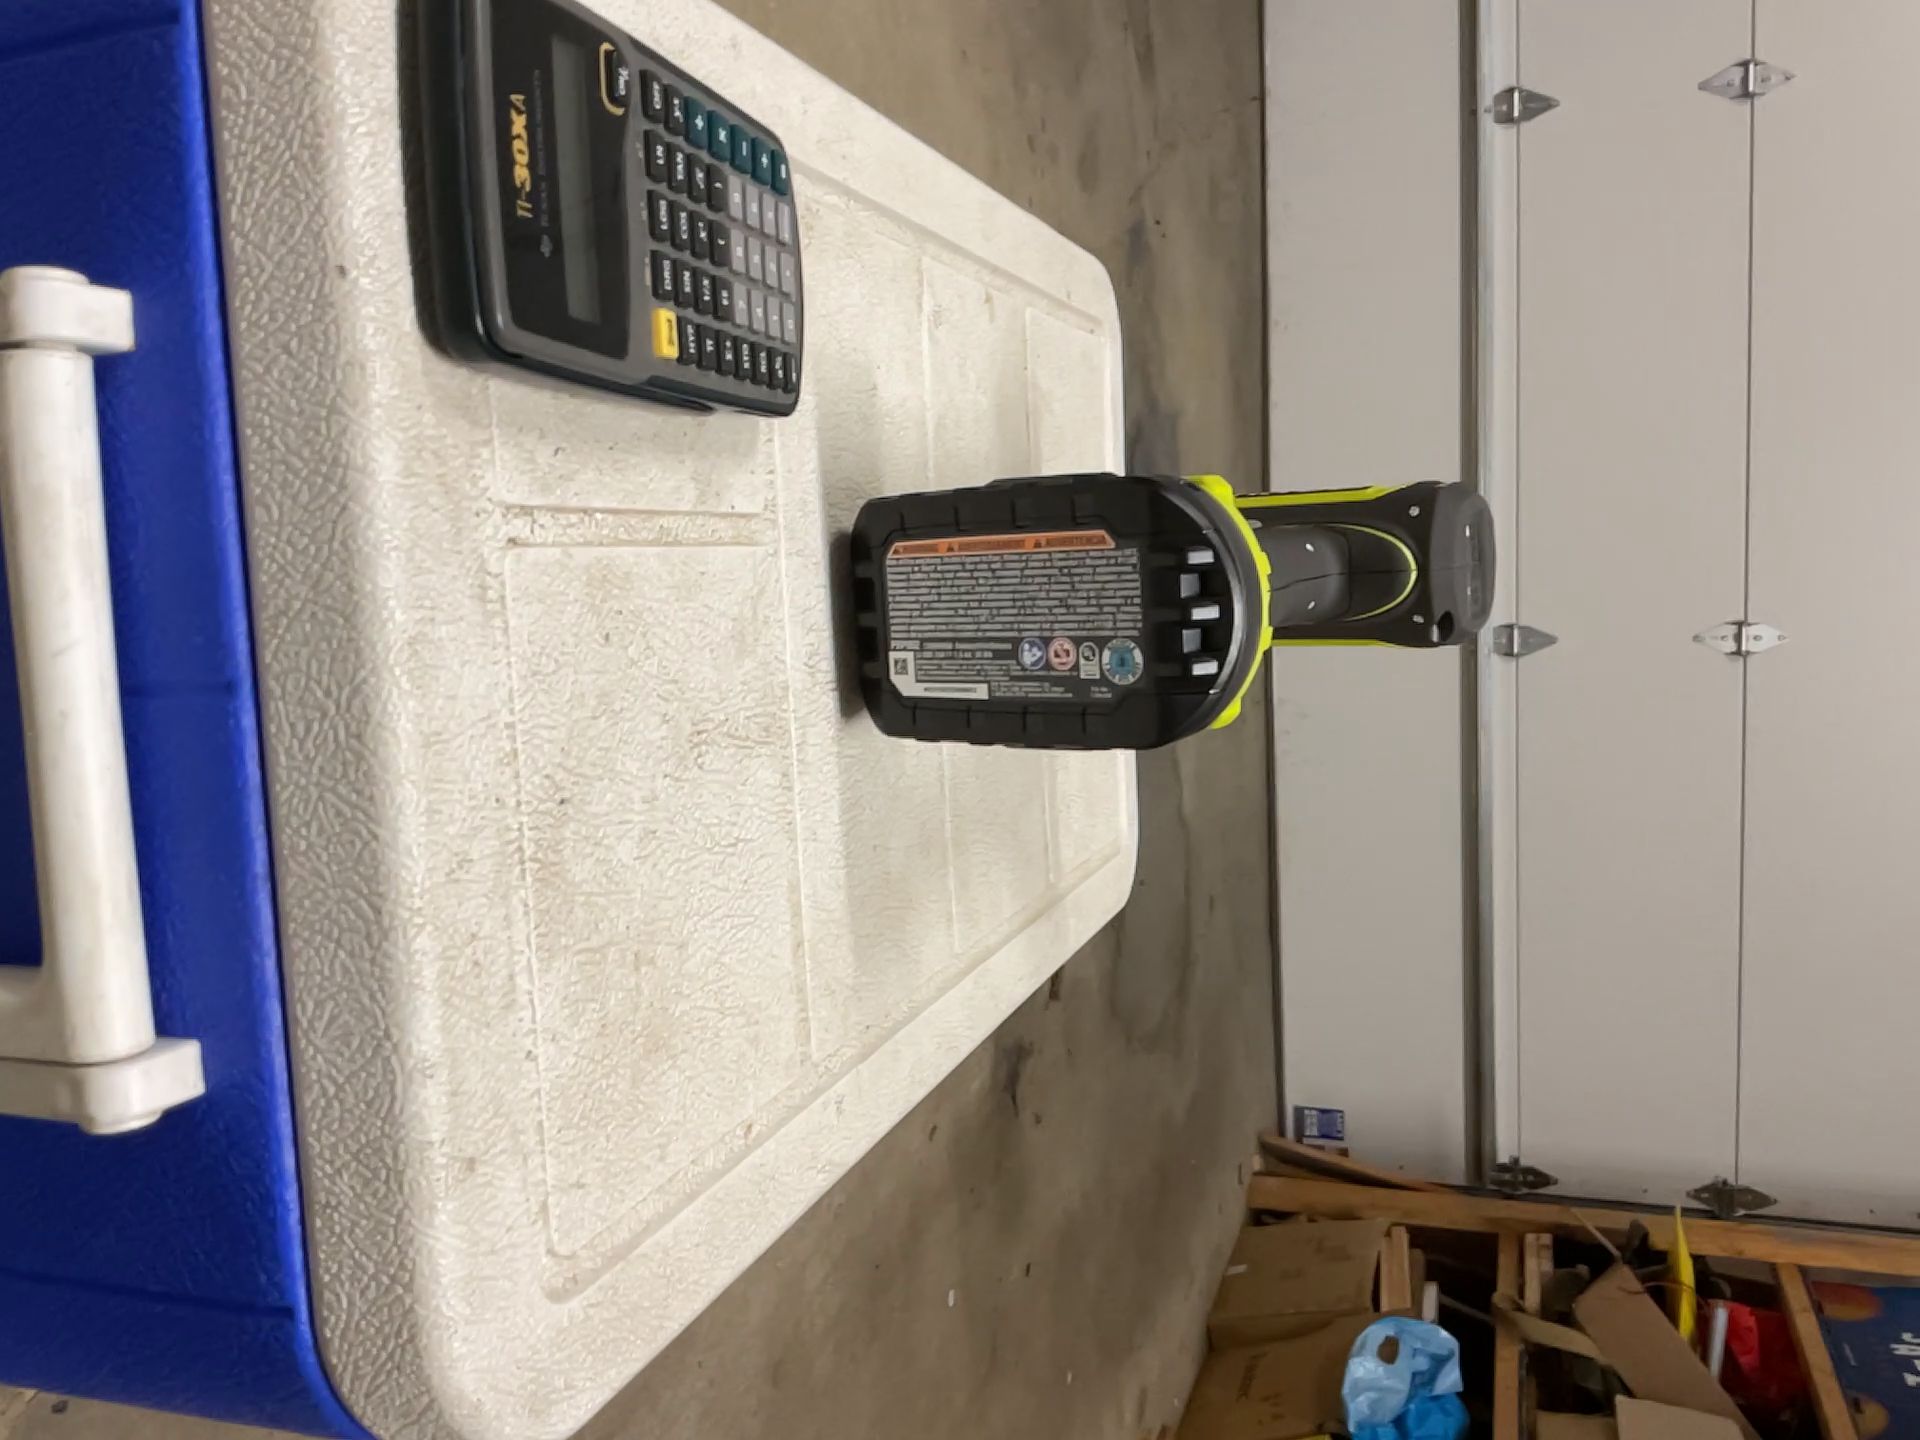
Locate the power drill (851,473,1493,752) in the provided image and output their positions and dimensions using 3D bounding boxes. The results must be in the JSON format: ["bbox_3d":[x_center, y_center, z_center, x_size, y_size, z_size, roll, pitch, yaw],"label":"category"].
[{"bbox_3d":[0.064,-0.047,0.567,0.229,0.190,0.080,-15,104,-55],"label":"power drill"}]
